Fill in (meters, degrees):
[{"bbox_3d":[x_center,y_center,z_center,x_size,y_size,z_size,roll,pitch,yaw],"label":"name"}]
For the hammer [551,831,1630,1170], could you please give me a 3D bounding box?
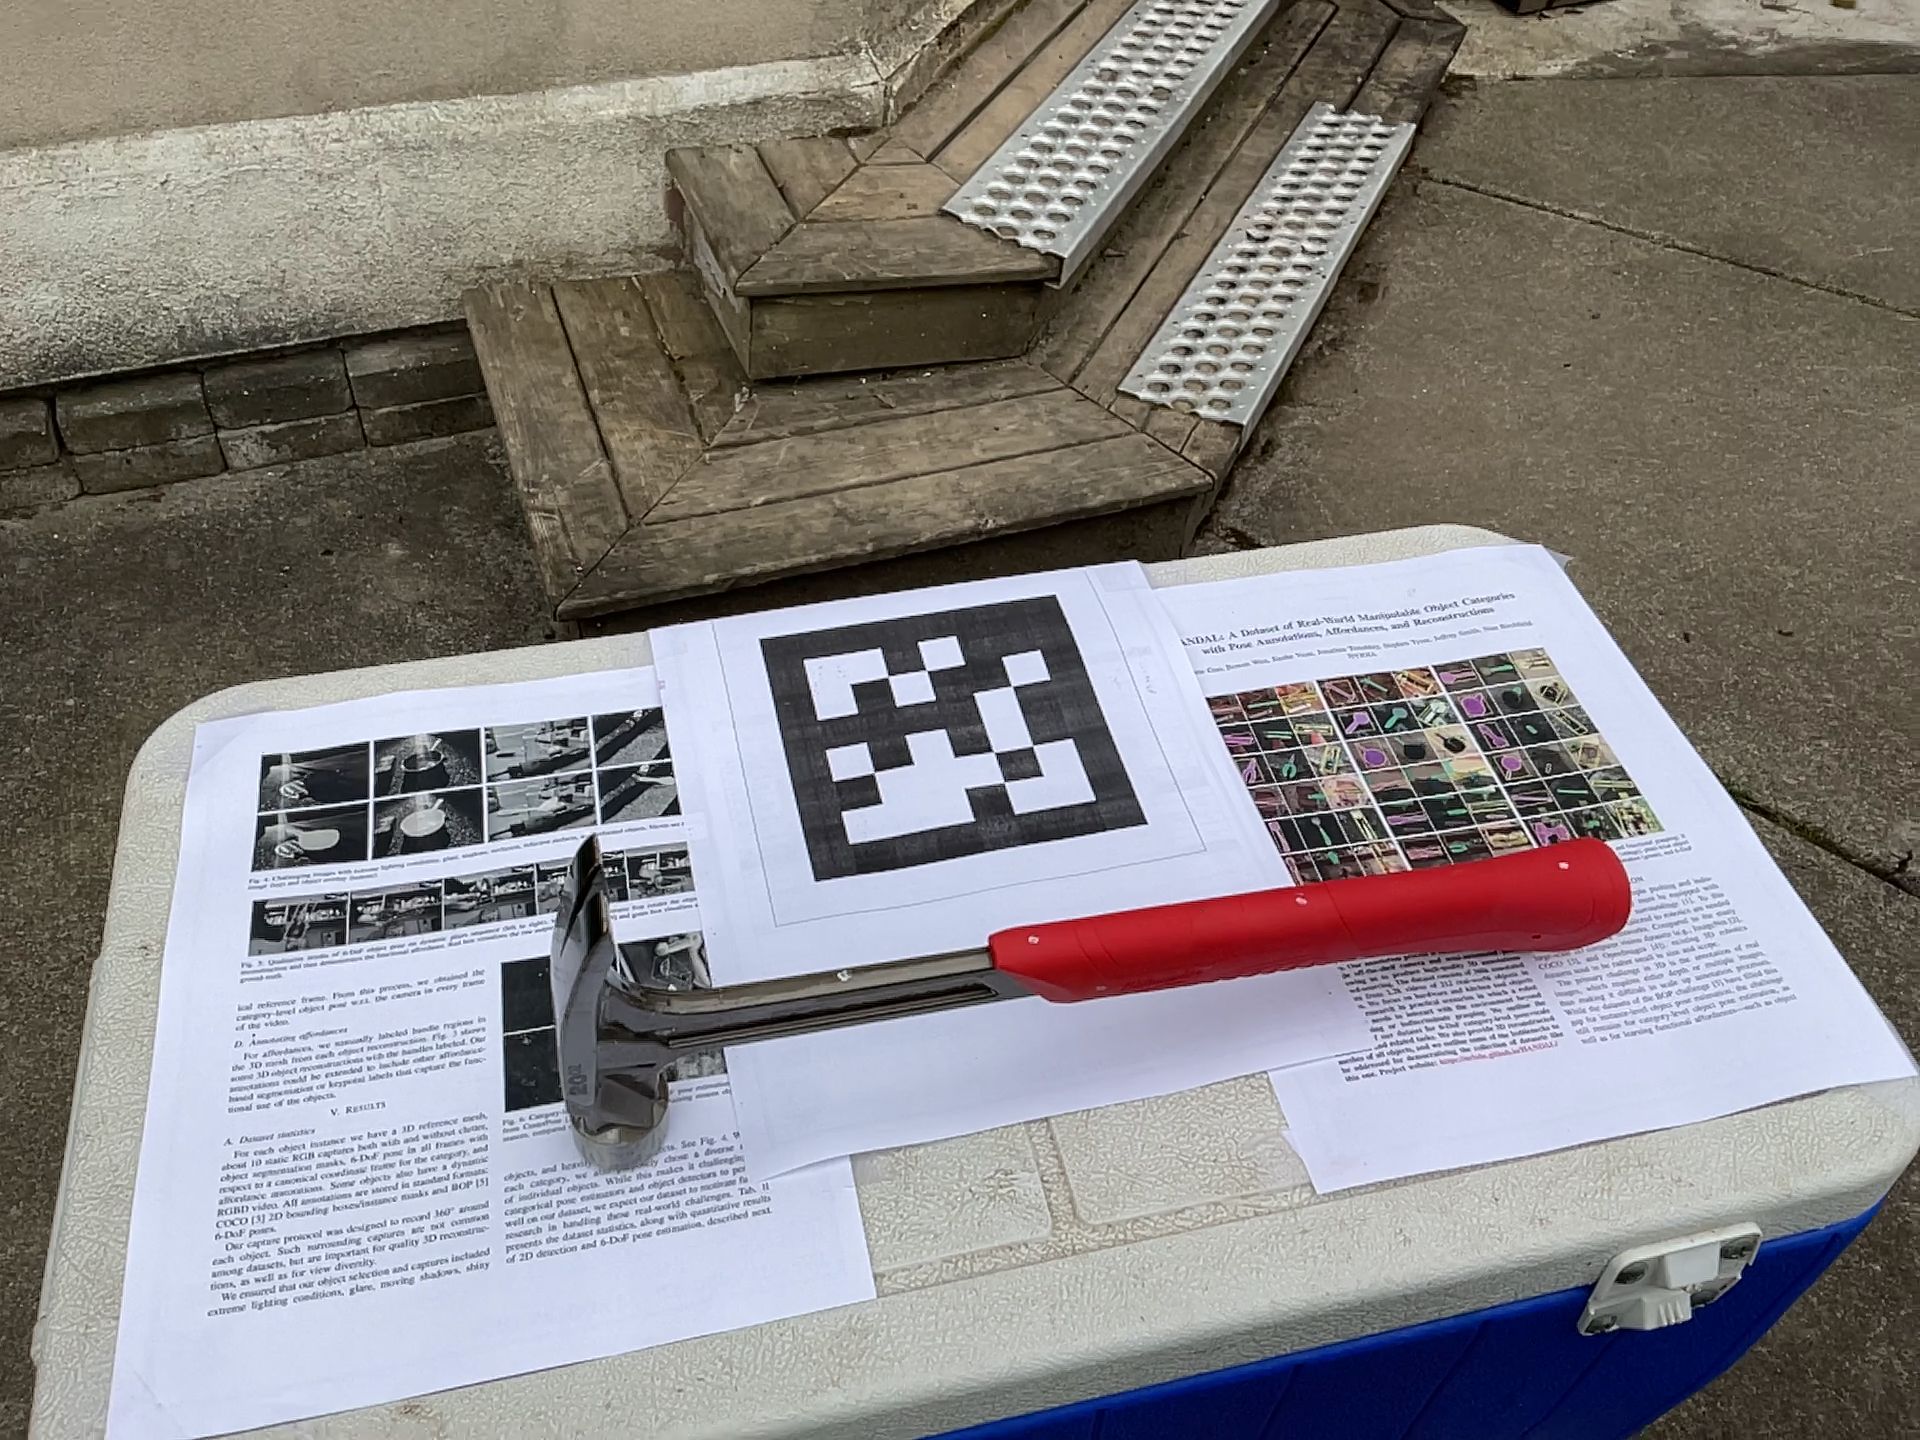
[{"bbox_3d":[0.056,0.069,0.506,0.359,0.149,0.037,-6,53,-17],"label":"hammer"}]
